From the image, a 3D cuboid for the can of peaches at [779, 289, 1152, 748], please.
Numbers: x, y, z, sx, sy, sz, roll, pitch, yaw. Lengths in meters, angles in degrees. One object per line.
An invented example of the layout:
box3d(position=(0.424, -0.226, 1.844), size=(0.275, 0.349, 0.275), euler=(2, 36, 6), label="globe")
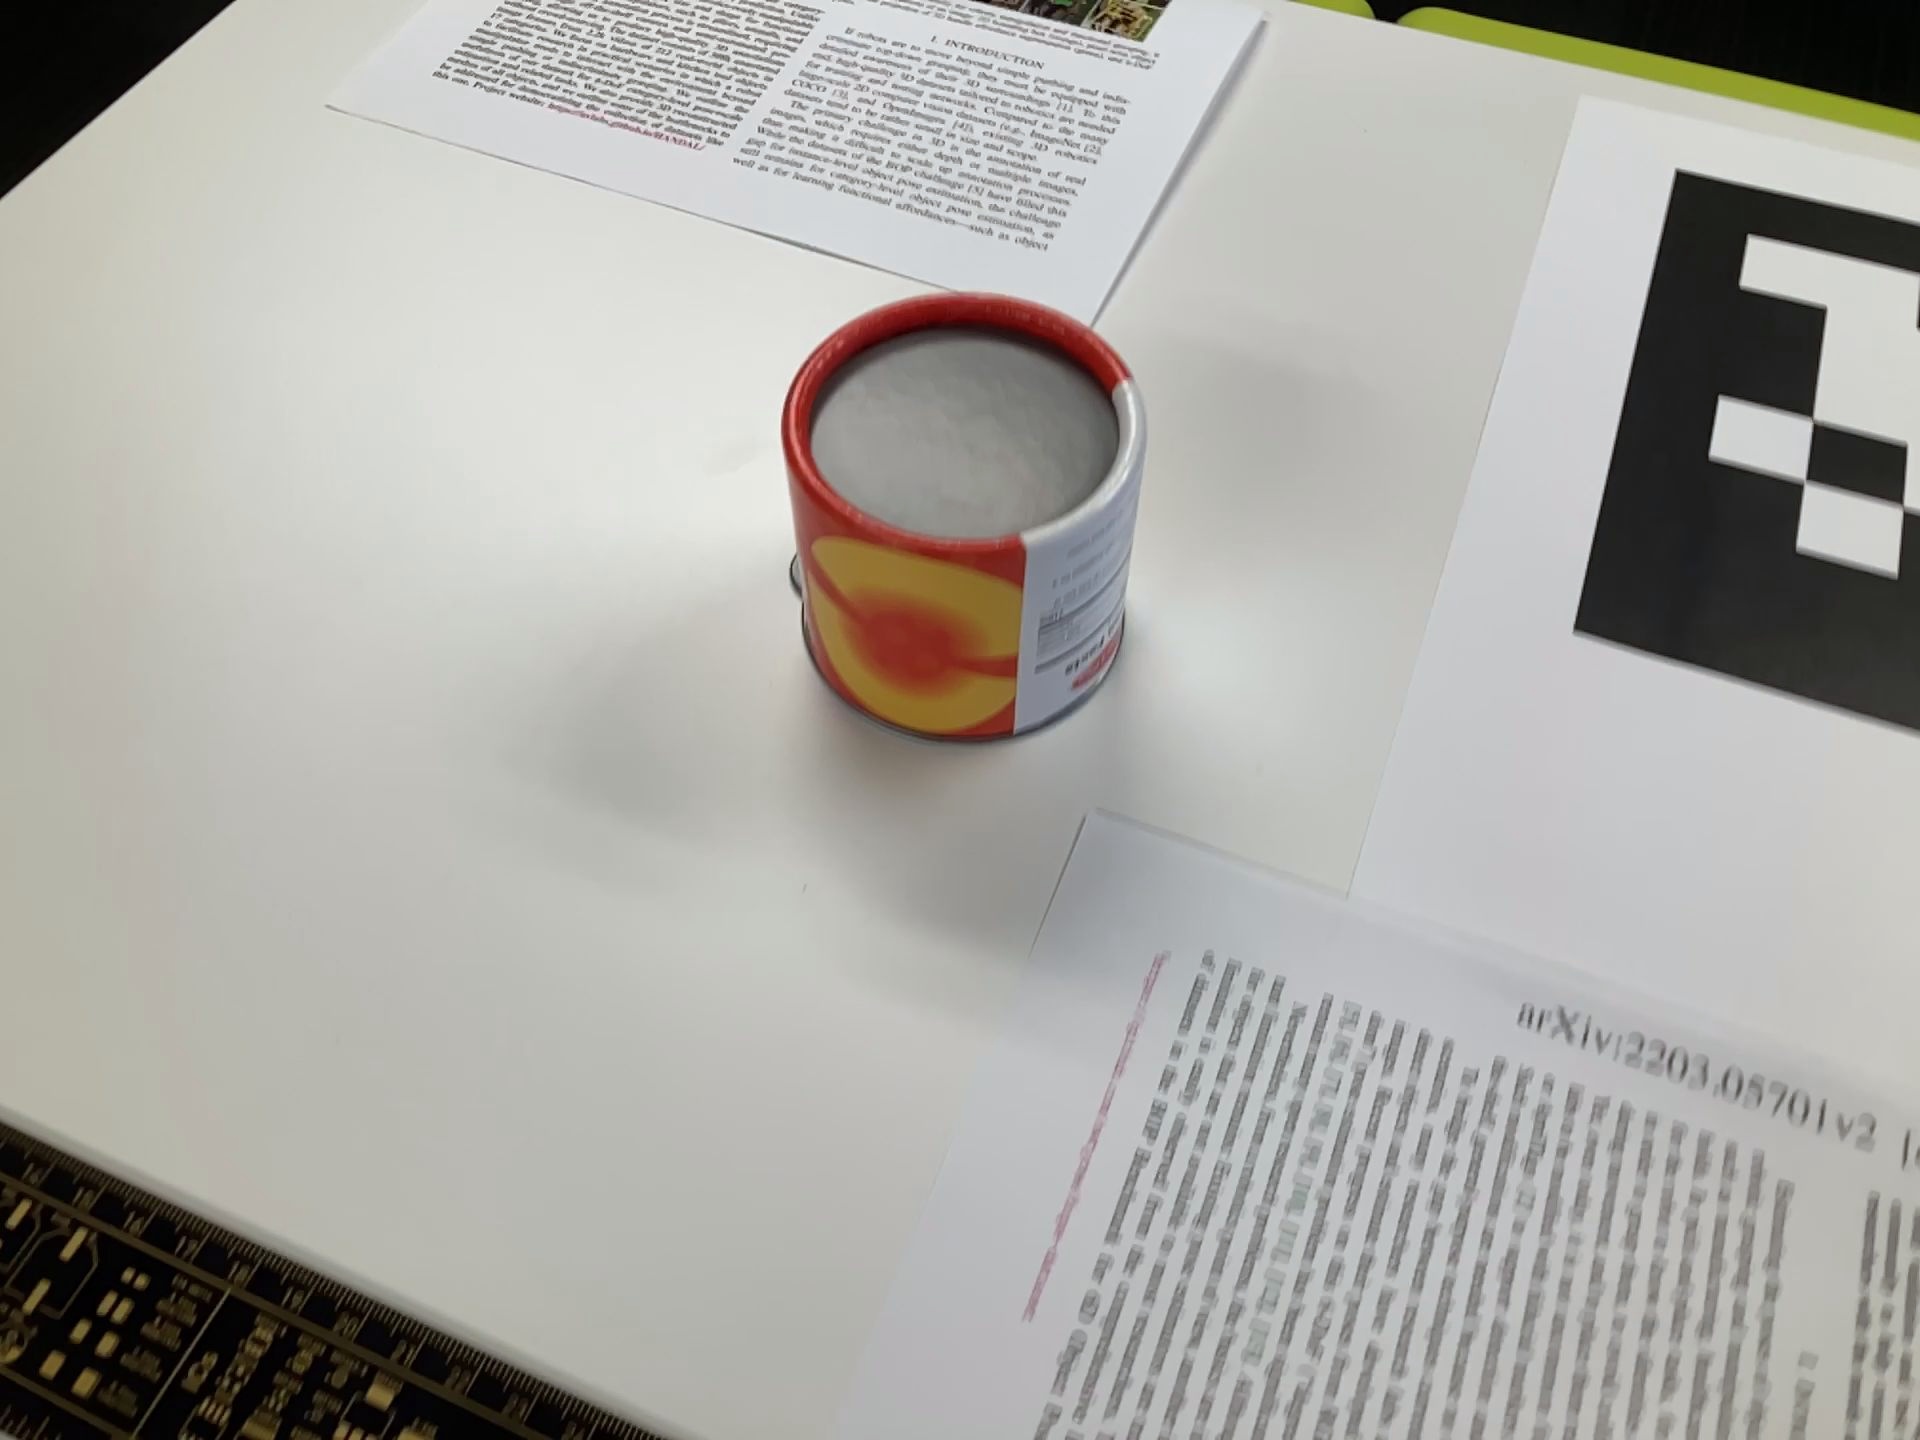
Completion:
box3d(position=(-0.002, -0.038, 0.299), size=(0.071, 0.058, 0.071), euler=(0, 56, -1), label="can of peaches")
